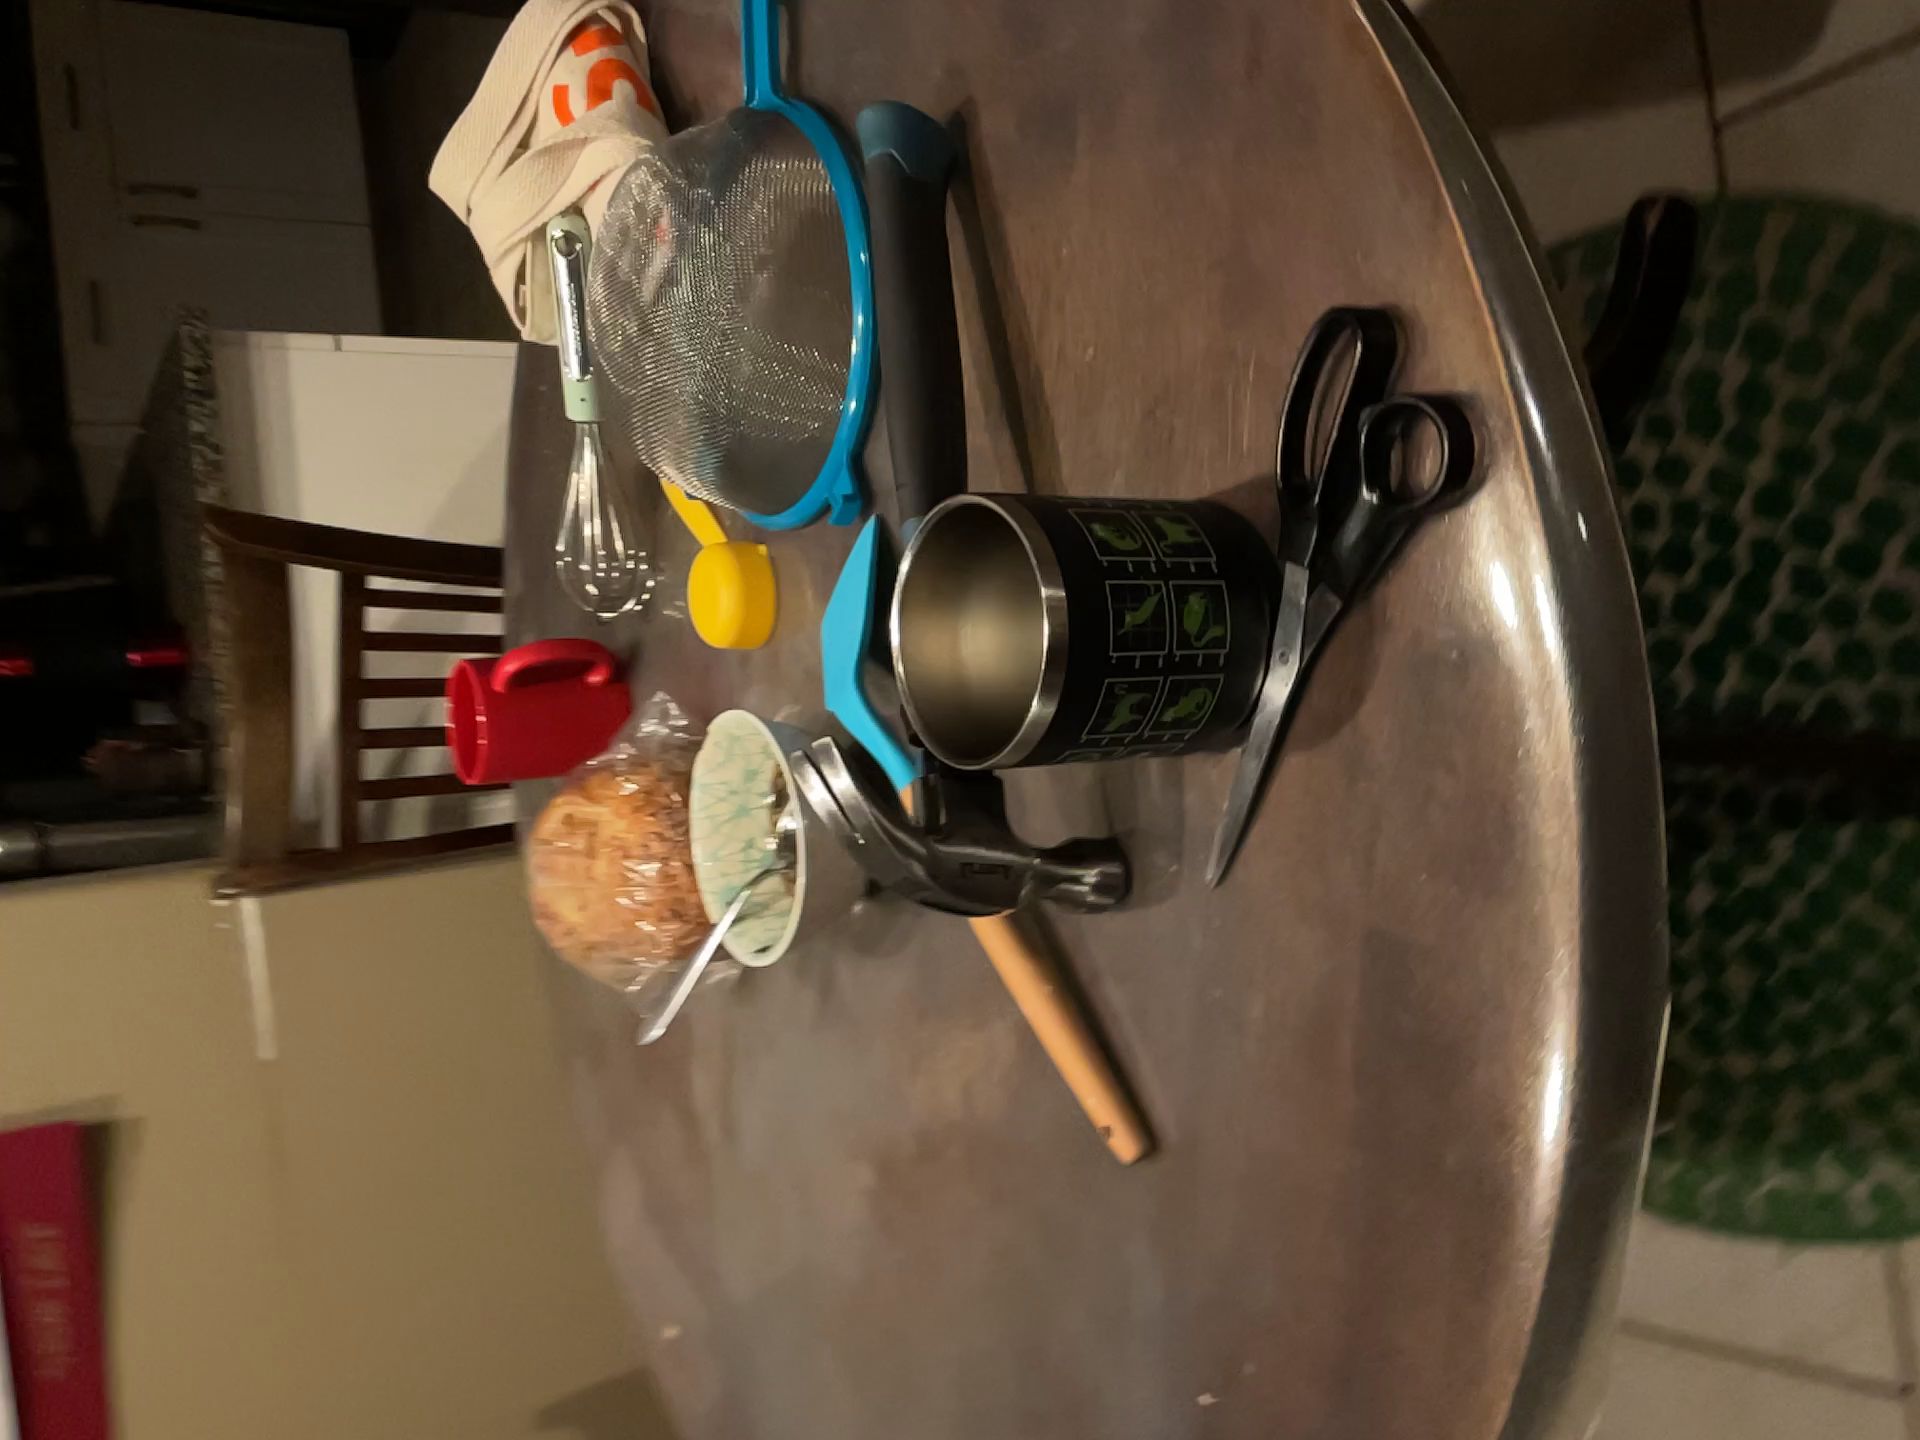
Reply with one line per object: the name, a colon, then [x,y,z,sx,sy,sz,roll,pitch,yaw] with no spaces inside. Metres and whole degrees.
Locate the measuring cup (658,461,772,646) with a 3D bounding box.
measuring cup: [-0.149,-0.099,0.894,0.157,0.029,0.062,53,136,37]

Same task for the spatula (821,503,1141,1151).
spatula: [0.001,0.042,0.695,0.318,0.044,0.082,59,139,28]

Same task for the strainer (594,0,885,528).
strainer: [-0.128,-0.261,0.780,0.211,0.095,0.340,18,113,54]

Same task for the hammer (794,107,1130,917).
hammer: [-0.007,-0.088,0.627,0.033,0.128,0.331,-26,64,53]

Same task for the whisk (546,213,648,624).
whisk: [-0.223,-0.174,0.955,0.059,0.058,0.246,-94,3,-66]
